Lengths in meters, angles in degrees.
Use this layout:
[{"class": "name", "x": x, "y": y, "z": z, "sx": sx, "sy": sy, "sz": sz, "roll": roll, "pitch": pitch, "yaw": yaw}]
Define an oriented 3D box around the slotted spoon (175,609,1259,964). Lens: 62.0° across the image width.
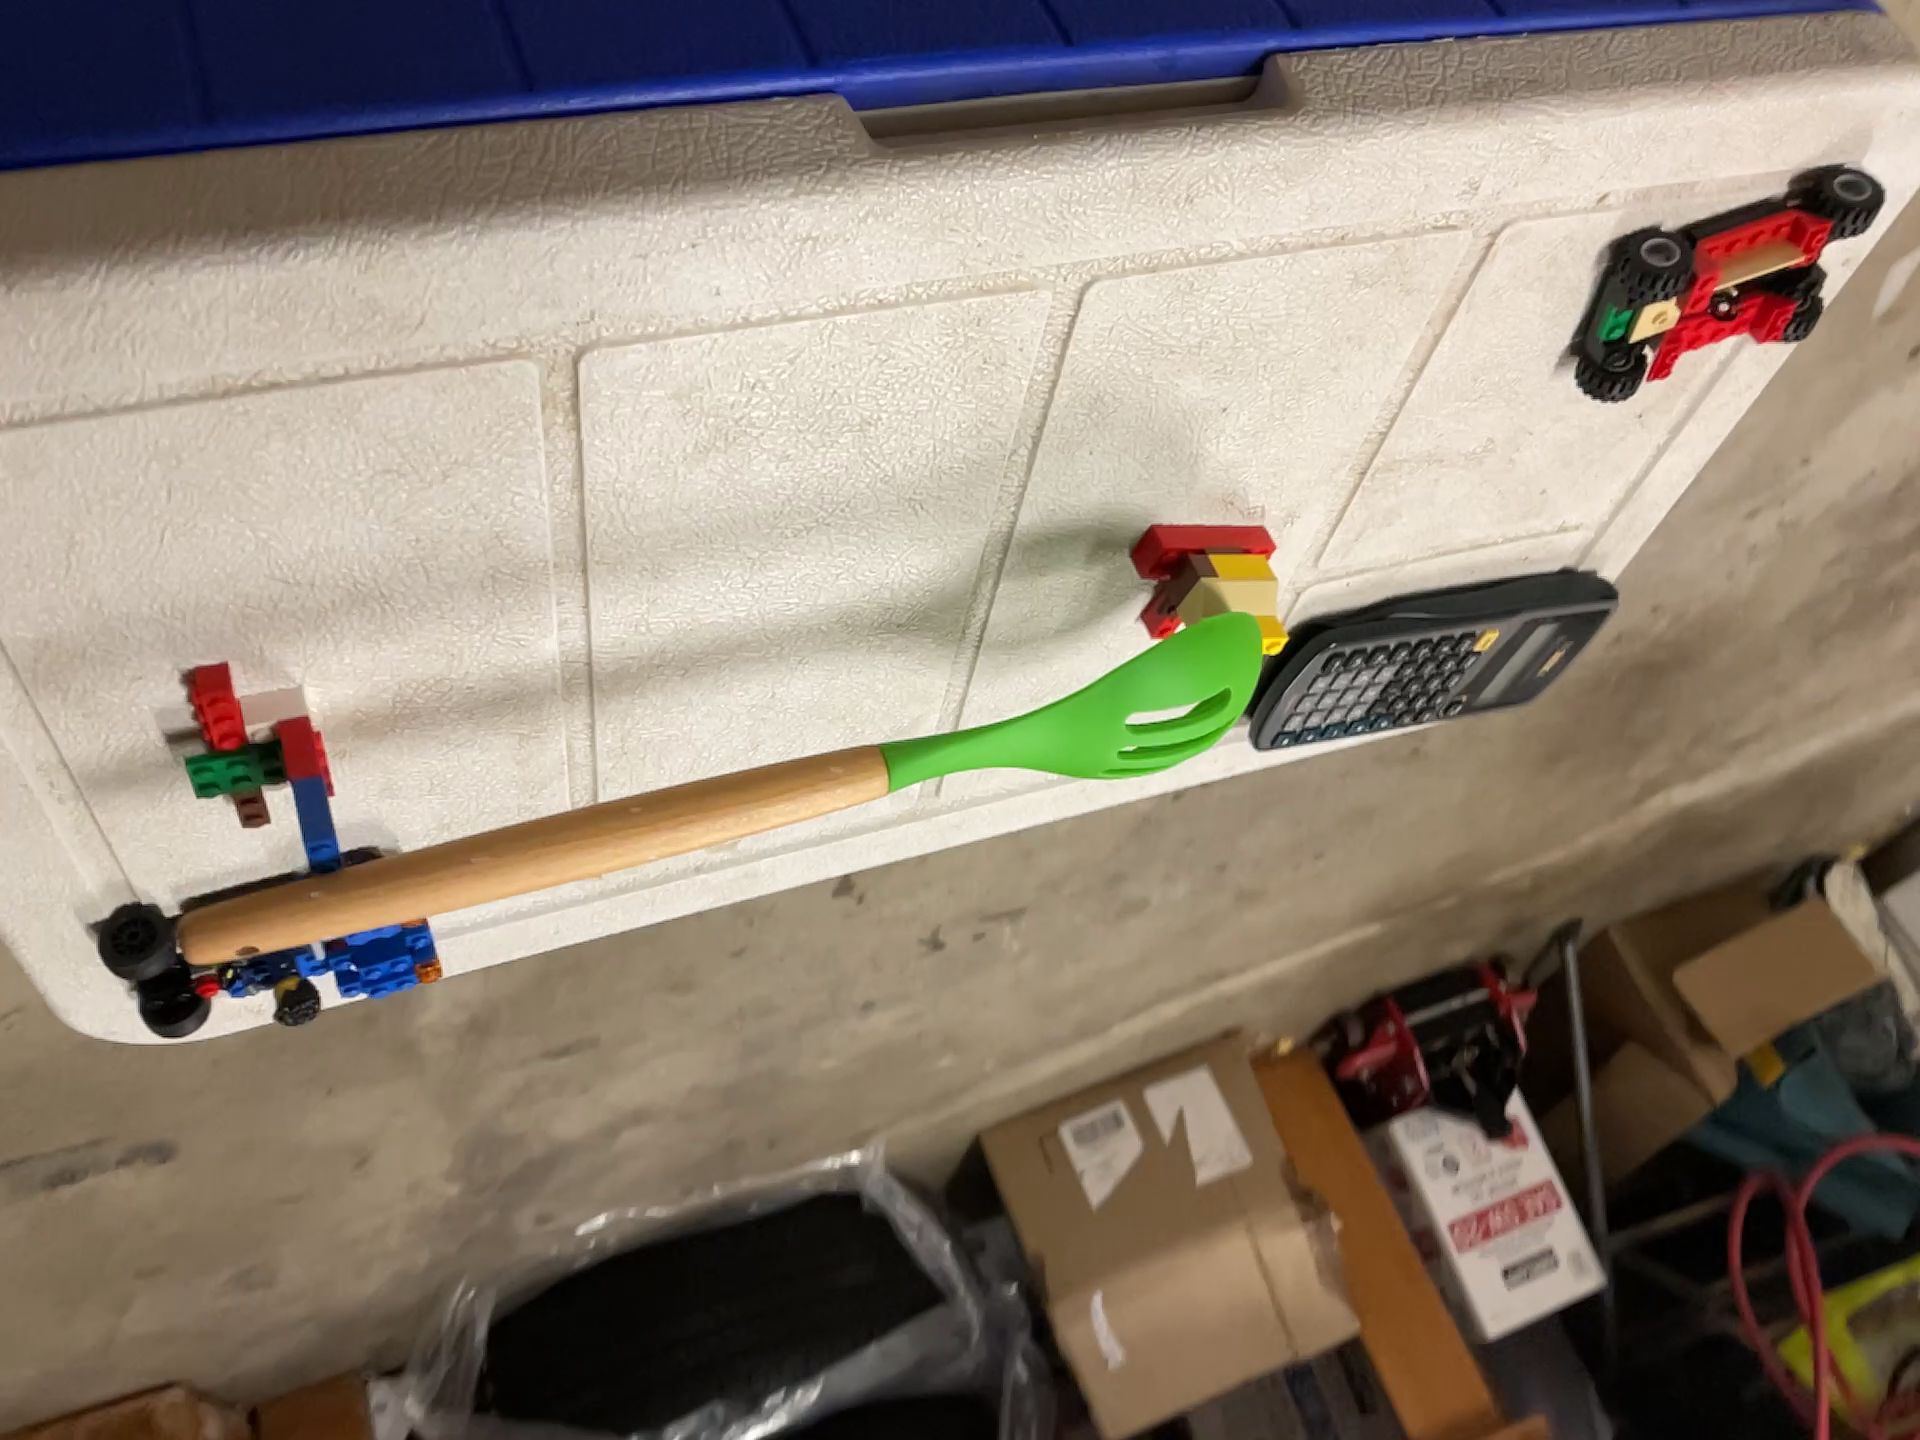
[{"class": "slotted spoon", "x": -0.048, "y": 0.021, "z": 0.445, "sx": 0.313, "sy": 0.031, "sz": 0.070, "roll": -13, "pitch": 151, "yaw": -19}]
